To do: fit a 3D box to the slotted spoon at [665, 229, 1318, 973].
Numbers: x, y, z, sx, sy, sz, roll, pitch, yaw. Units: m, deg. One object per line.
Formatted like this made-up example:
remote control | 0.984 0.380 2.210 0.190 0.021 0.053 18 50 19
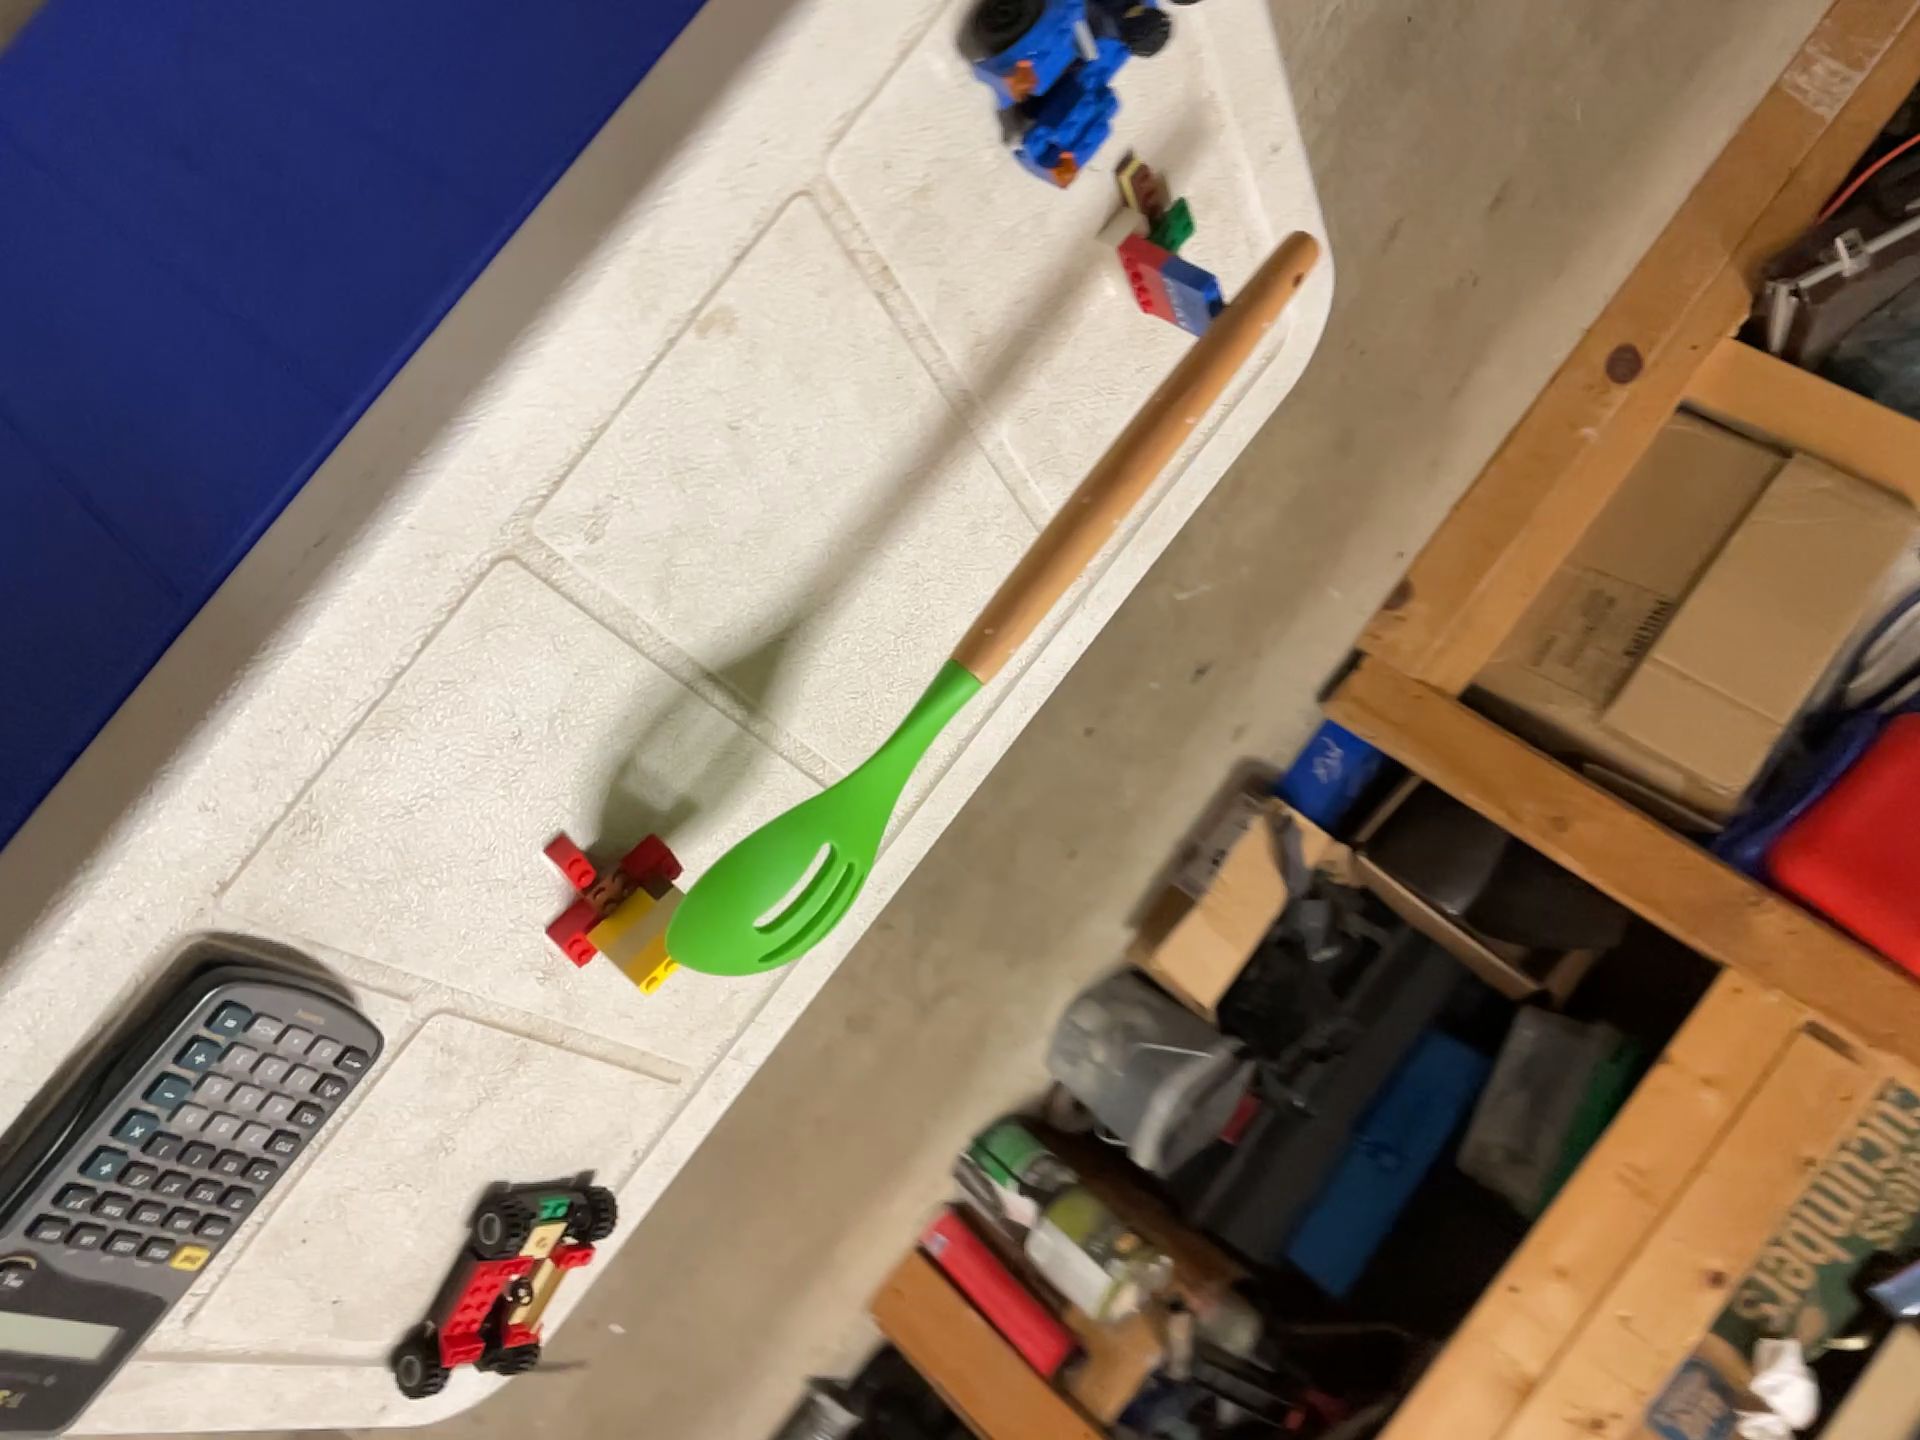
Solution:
slotted spoon | 0.017 -0.038 0.520 0.314 0.031 0.070 -51 149 -4
